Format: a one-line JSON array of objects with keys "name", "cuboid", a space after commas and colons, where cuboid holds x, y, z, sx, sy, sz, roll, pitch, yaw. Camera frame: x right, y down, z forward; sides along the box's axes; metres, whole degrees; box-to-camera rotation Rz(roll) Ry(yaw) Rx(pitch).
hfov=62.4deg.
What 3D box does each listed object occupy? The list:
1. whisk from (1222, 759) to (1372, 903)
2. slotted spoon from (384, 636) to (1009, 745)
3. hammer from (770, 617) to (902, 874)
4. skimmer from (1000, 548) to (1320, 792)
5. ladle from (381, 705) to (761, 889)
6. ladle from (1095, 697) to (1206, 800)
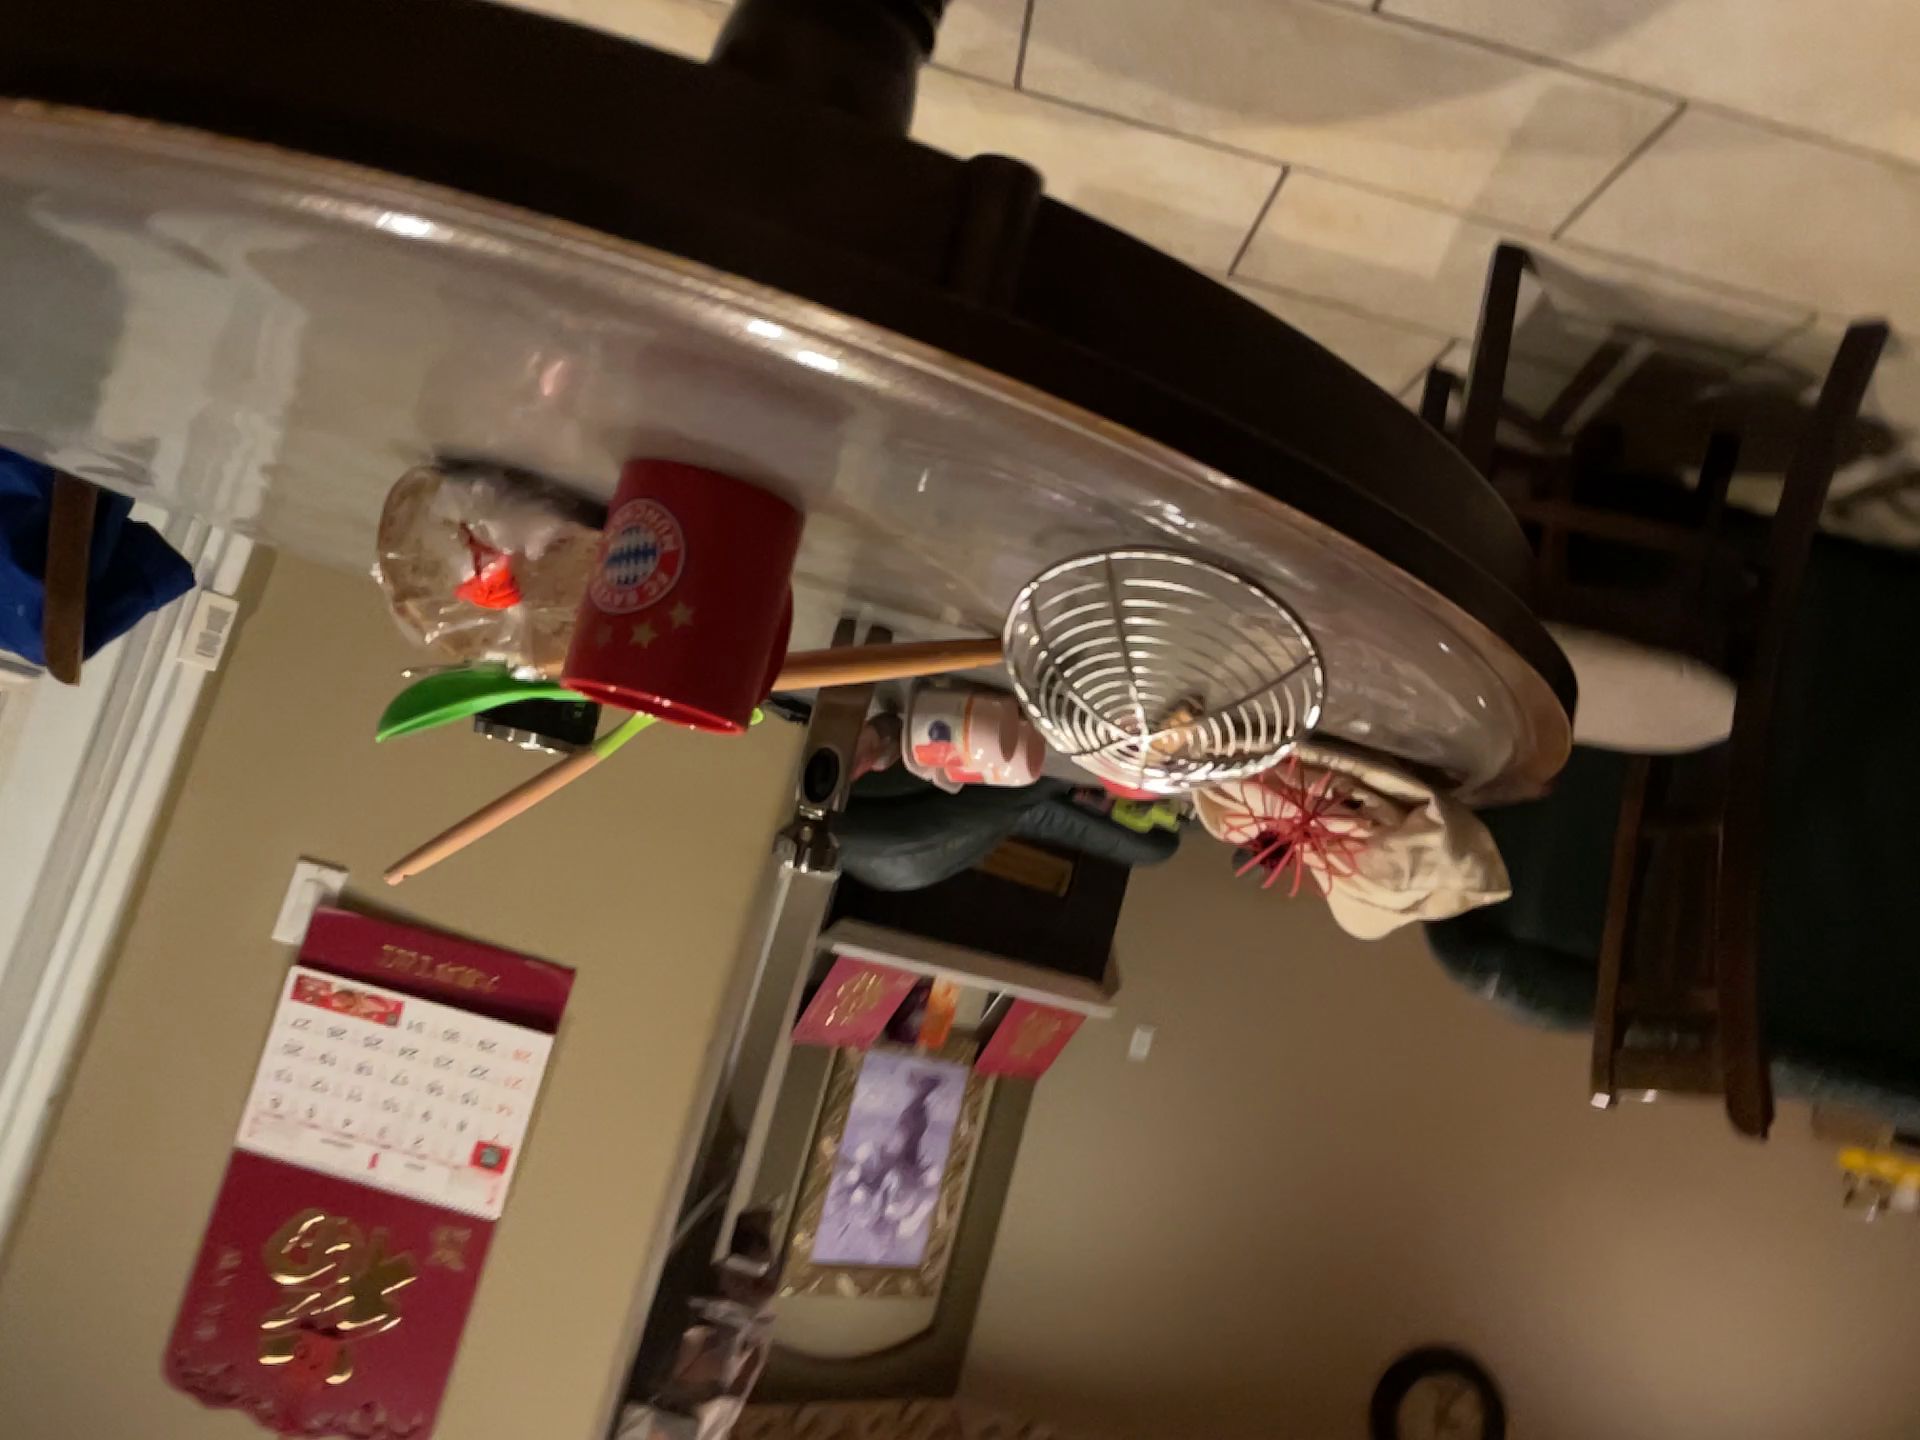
[{"name": "whisk", "cuboid": [0.177, 0.070, 0.876, 0.073, 0.073, 0.295, 13, 173, 8]}, {"name": "slotted spoon", "cuboid": [-0.129, -0.020, 0.800, 0.313, 0.031, 0.070, -7, 180, -9]}, {"name": "hammer", "cuboid": [-0.062, 0.003, 1.059, 0.038, 0.143, 0.386, 16, -176, 1]}, {"name": "skimmer", "cuboid": [0.069, -0.026, 0.753, 0.127, 0.090, 0.363, 24, -178, -4]}, {"name": "ladle", "cuboid": [-0.293, 0.048, 1.187, 0.062, 0.320, 0.078, 59, -178, 28]}, {"name": "ladle", "cuboid": [0.124, 0.020, 0.996, 0.069, 0.031, 0.315, 14, 170, 2]}]
